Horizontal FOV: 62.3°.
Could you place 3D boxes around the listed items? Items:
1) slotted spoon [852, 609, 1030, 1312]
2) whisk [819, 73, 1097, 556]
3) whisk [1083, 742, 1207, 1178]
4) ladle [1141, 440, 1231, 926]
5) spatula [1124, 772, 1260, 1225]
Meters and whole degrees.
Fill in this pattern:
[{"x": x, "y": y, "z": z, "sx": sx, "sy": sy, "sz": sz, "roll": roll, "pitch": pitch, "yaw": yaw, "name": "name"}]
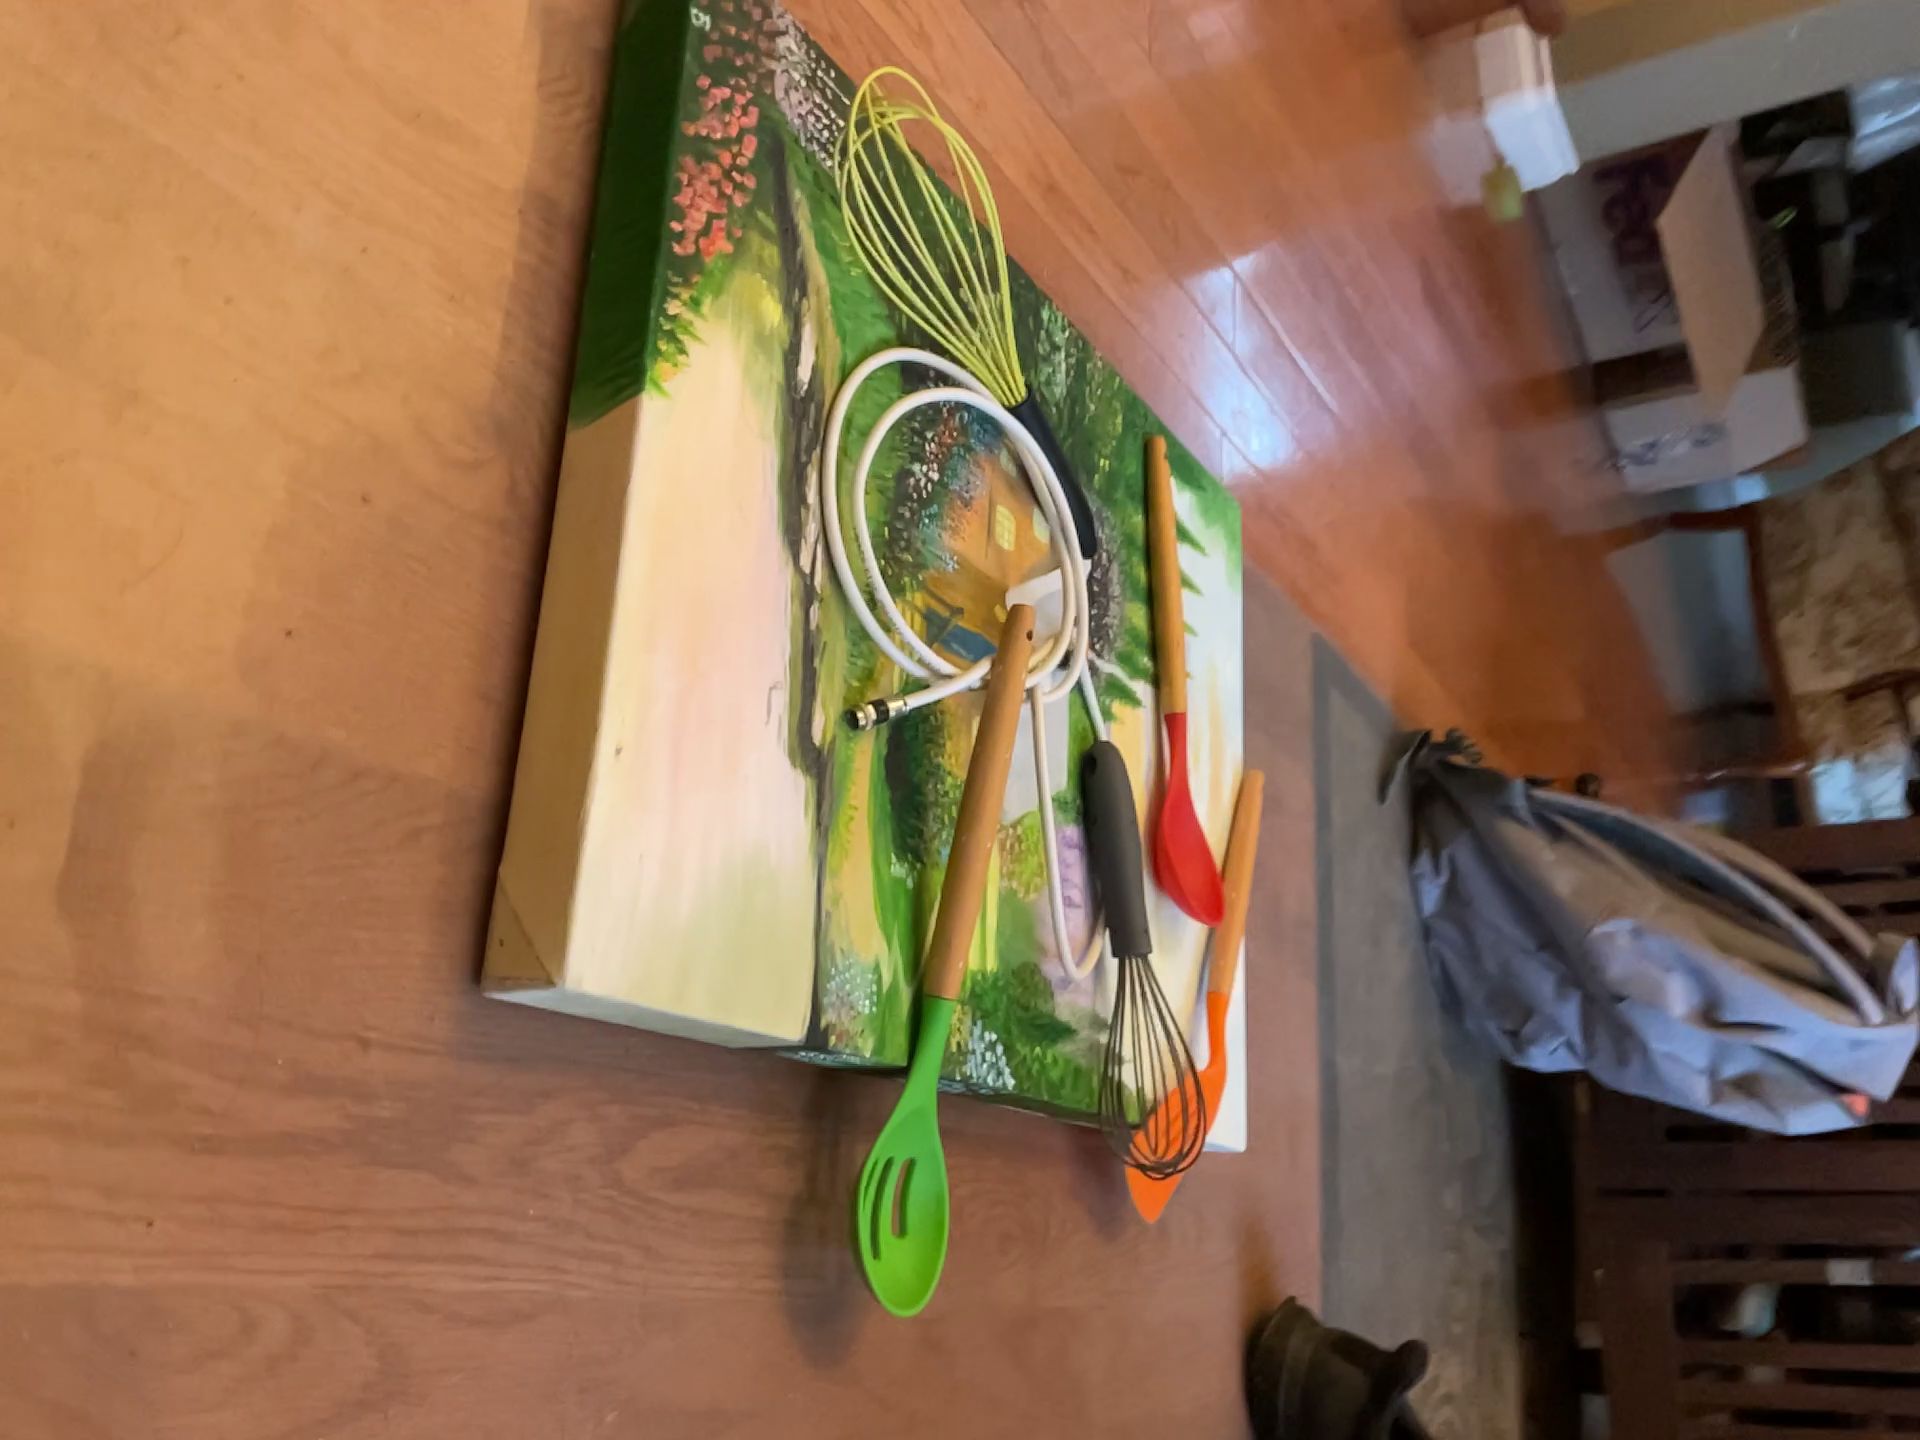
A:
[{"x": -0.003, "y": 0.101, "z": 0.716, "sx": 0.070, "sy": 0.031, "sz": 0.314, "roll": 26, "pitch": 72, "yaw": -54, "name": "slotted spoon"}, {"x": 0.012, "y": -0.188, "z": 0.812, "sx": 0.311, "sy": 0.067, "sz": 0.080, "roll": 56, "pitch": 44, "yaw": -45, "name": "whisk"}, {"x": 0.095, "y": 0.127, "z": 0.869, "sx": 0.055, "sy": 0.055, "sz": 0.239, "roll": 29, "pitch": 51, "yaw": -66, "name": "whisk"}, {"x": 0.134, "y": -0.027, "z": 0.994, "sx": 0.069, "sy": 0.031, "sz": 0.316, "roll": 18, "pitch": 64, "yaw": -58, "name": "ladle"}, {"x": 0.155, "y": 0.156, "z": 1.000, "sx": 0.080, "sy": 0.041, "sz": 0.323, "roll": 68, "pitch": 29, "yaw": -42, "name": "spatula"}]
